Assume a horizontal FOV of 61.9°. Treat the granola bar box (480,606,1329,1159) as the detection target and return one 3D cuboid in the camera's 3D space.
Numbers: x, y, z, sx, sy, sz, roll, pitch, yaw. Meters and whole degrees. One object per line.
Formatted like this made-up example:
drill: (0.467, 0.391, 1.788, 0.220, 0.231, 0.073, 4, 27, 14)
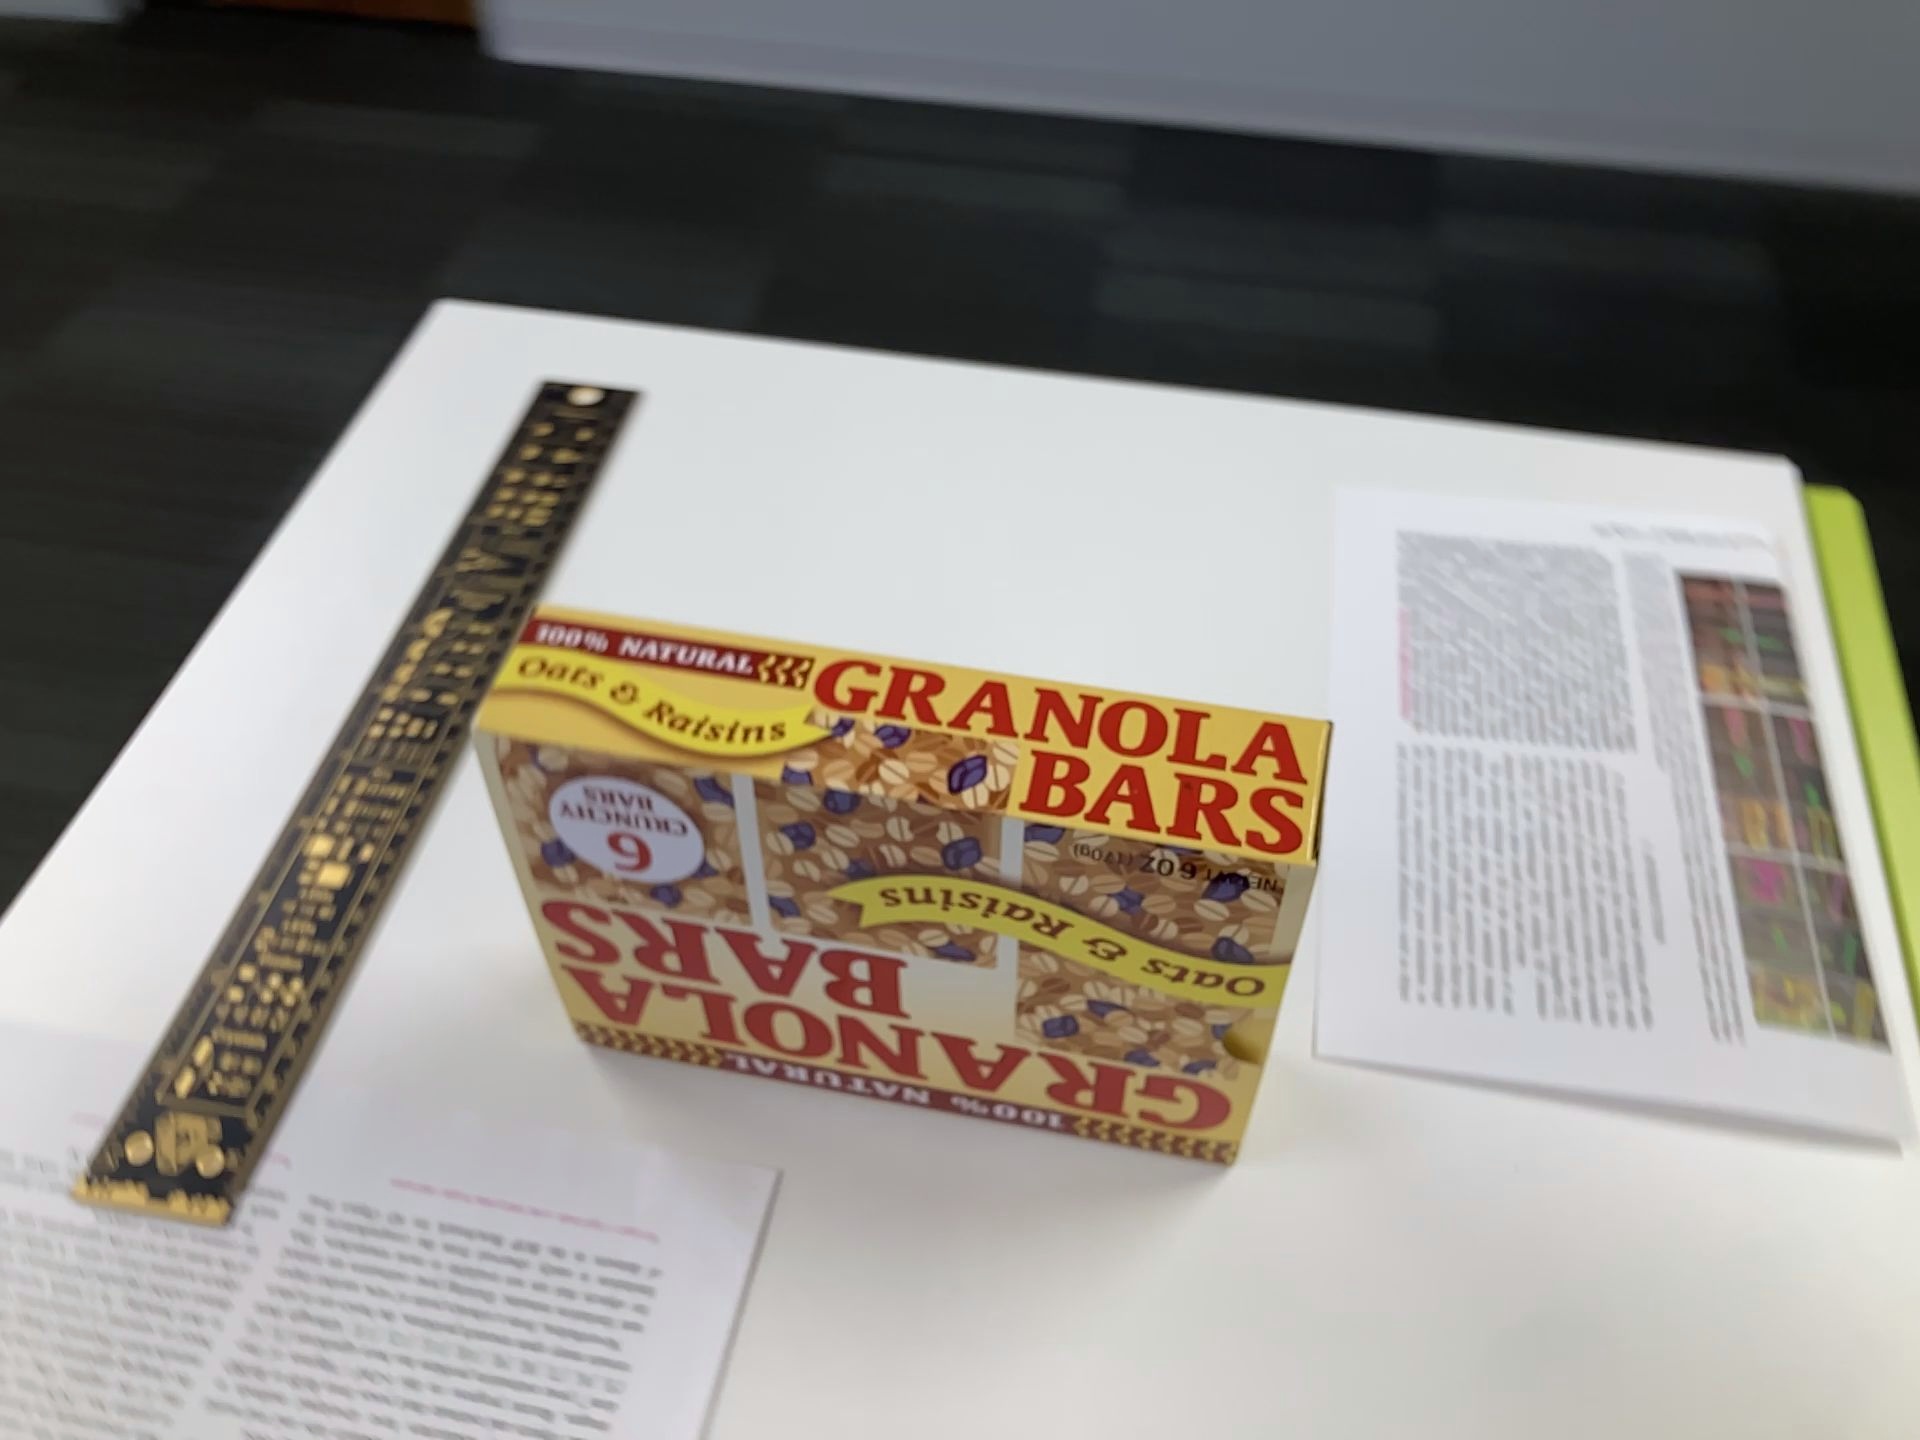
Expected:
granola bar box: (-0.011, 0.041, 0.359, 0.165, 0.124, 0.039, 8, 50, 8)
